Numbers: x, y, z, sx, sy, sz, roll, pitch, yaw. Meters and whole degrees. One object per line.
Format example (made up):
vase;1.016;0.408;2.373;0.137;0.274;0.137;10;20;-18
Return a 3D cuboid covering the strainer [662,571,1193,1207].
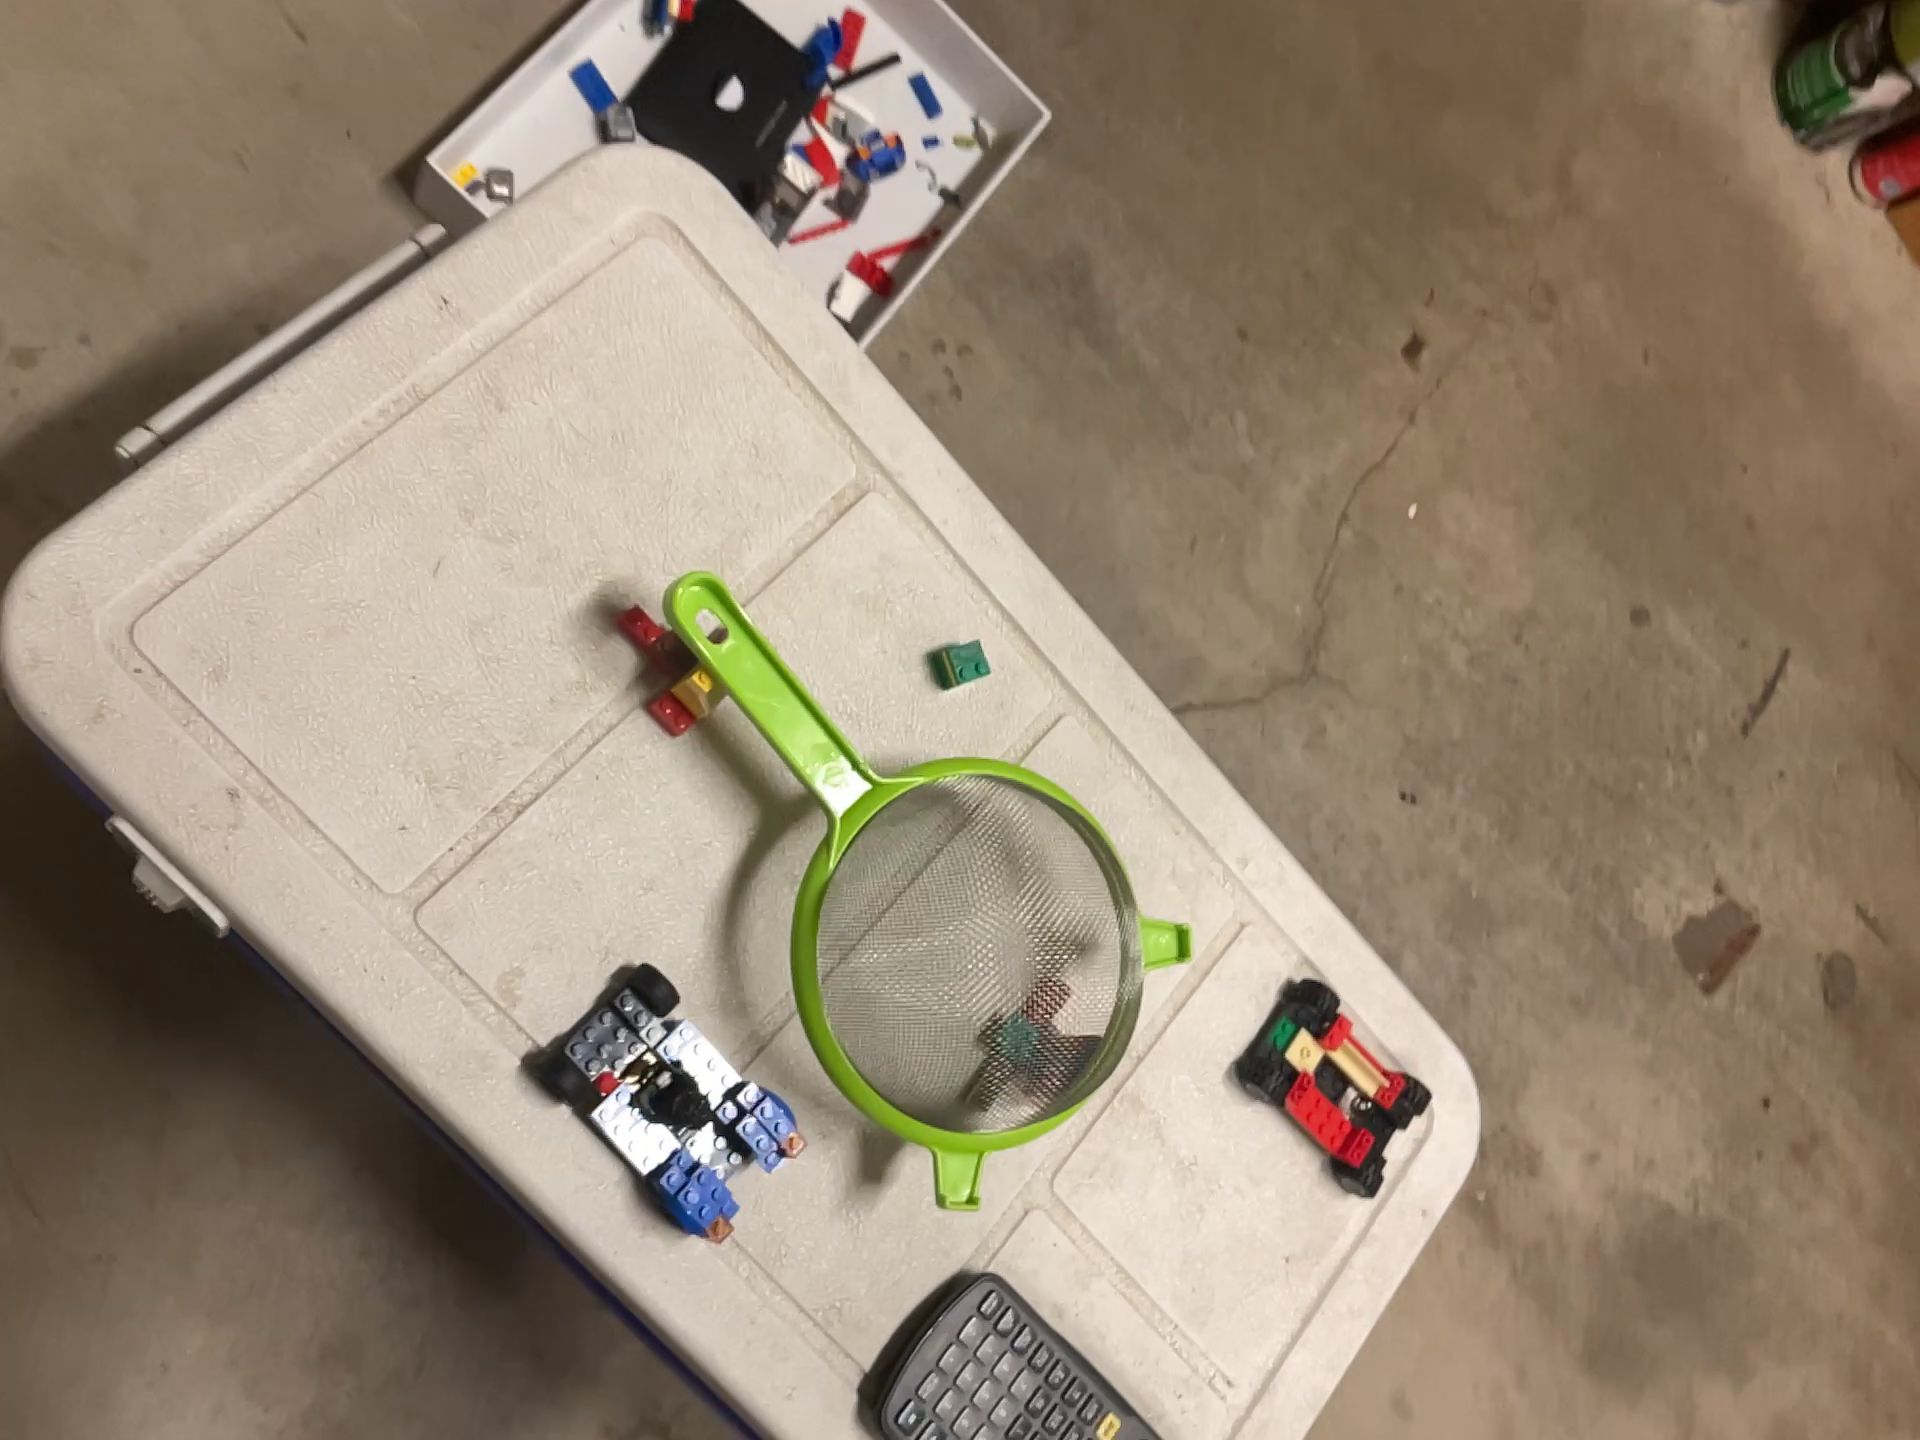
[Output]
strainer;-0.015;0.045;0.585;0.152;0.069;0.256;-43;102;-24
